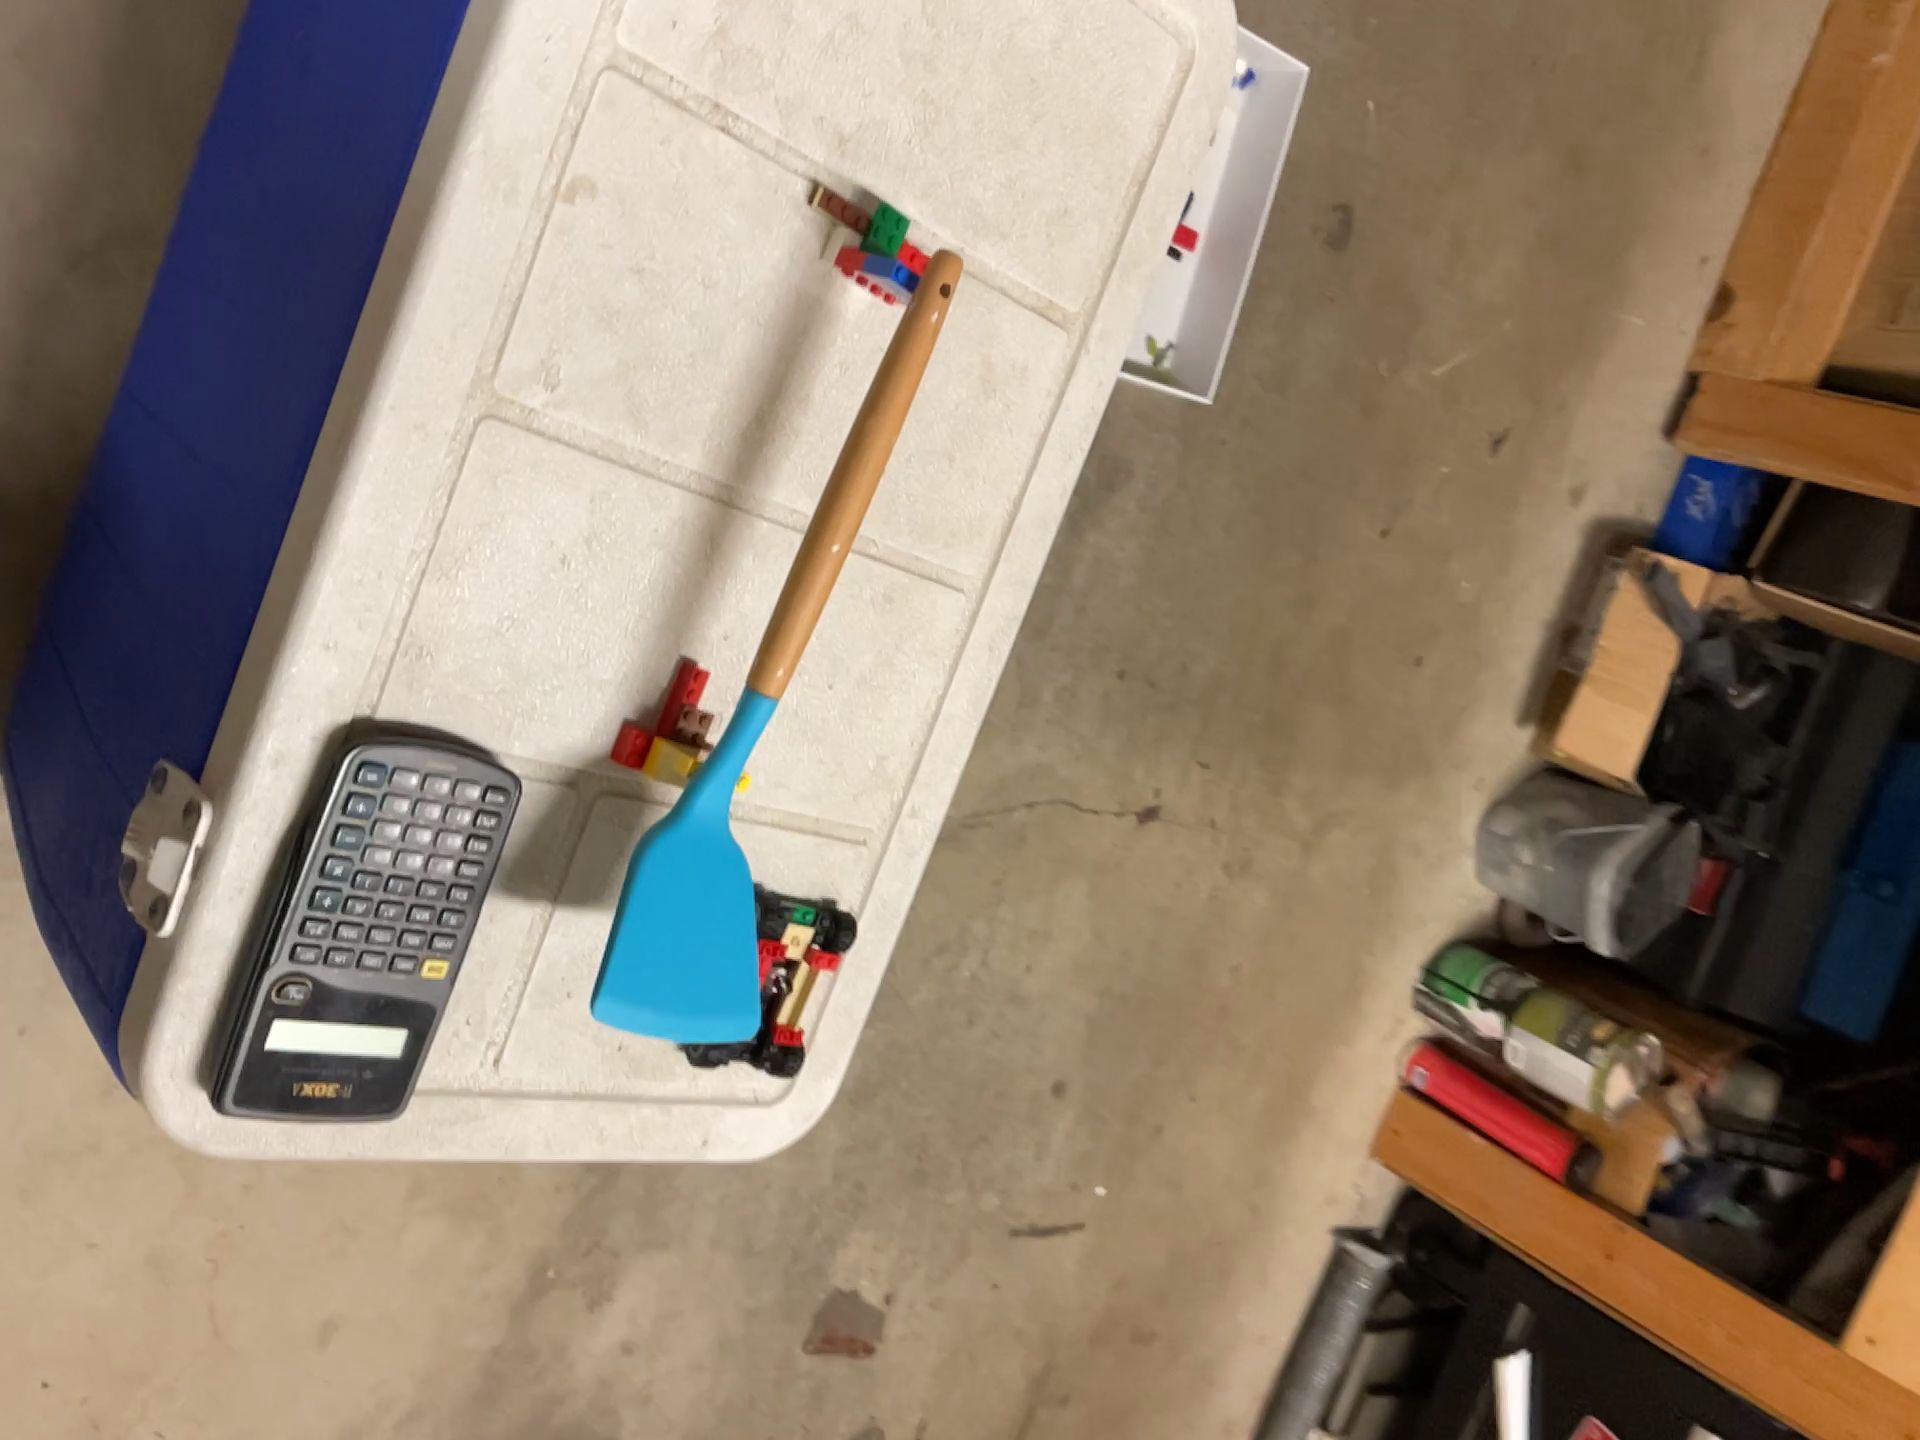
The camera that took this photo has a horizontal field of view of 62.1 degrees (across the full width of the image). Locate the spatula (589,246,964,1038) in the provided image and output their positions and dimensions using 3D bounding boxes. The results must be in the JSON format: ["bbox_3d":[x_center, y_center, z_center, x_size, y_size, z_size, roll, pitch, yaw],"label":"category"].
[{"bbox_3d":[-0.060,-0.032,0.617,0.082,0.044,0.317,20,95,-42],"label":"spatula"}]
